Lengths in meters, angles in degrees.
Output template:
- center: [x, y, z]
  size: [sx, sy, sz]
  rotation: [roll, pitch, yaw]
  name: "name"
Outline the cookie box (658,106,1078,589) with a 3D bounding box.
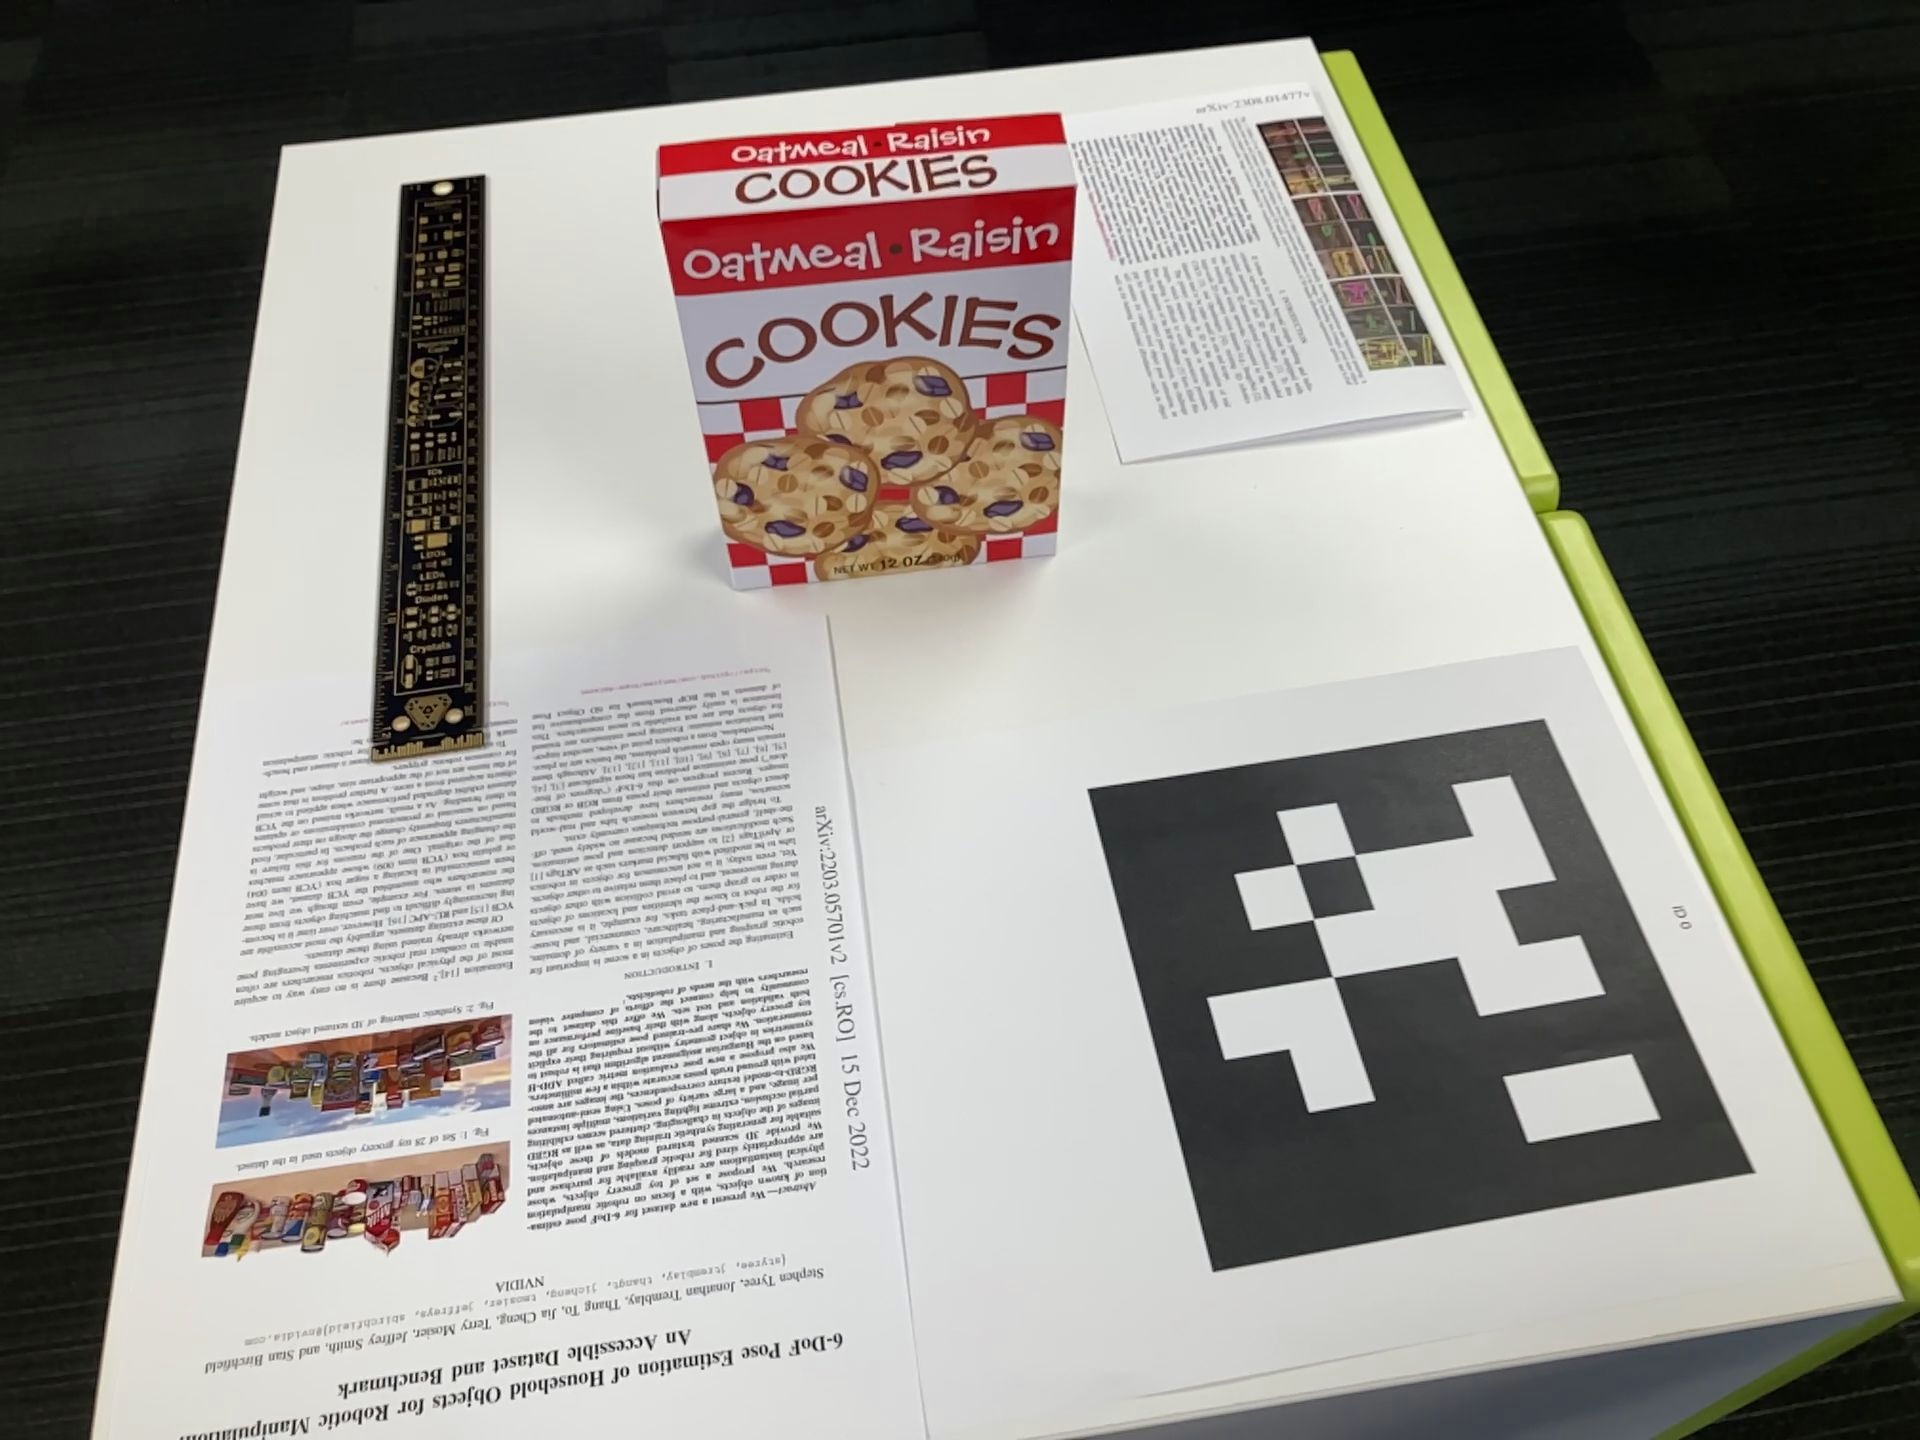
- center: [-0.027, -0.118, 0.533]
  size: [0.123, 0.167, 0.040]
  rotation: [-6, 56, -3]
  name: "cookie box"
